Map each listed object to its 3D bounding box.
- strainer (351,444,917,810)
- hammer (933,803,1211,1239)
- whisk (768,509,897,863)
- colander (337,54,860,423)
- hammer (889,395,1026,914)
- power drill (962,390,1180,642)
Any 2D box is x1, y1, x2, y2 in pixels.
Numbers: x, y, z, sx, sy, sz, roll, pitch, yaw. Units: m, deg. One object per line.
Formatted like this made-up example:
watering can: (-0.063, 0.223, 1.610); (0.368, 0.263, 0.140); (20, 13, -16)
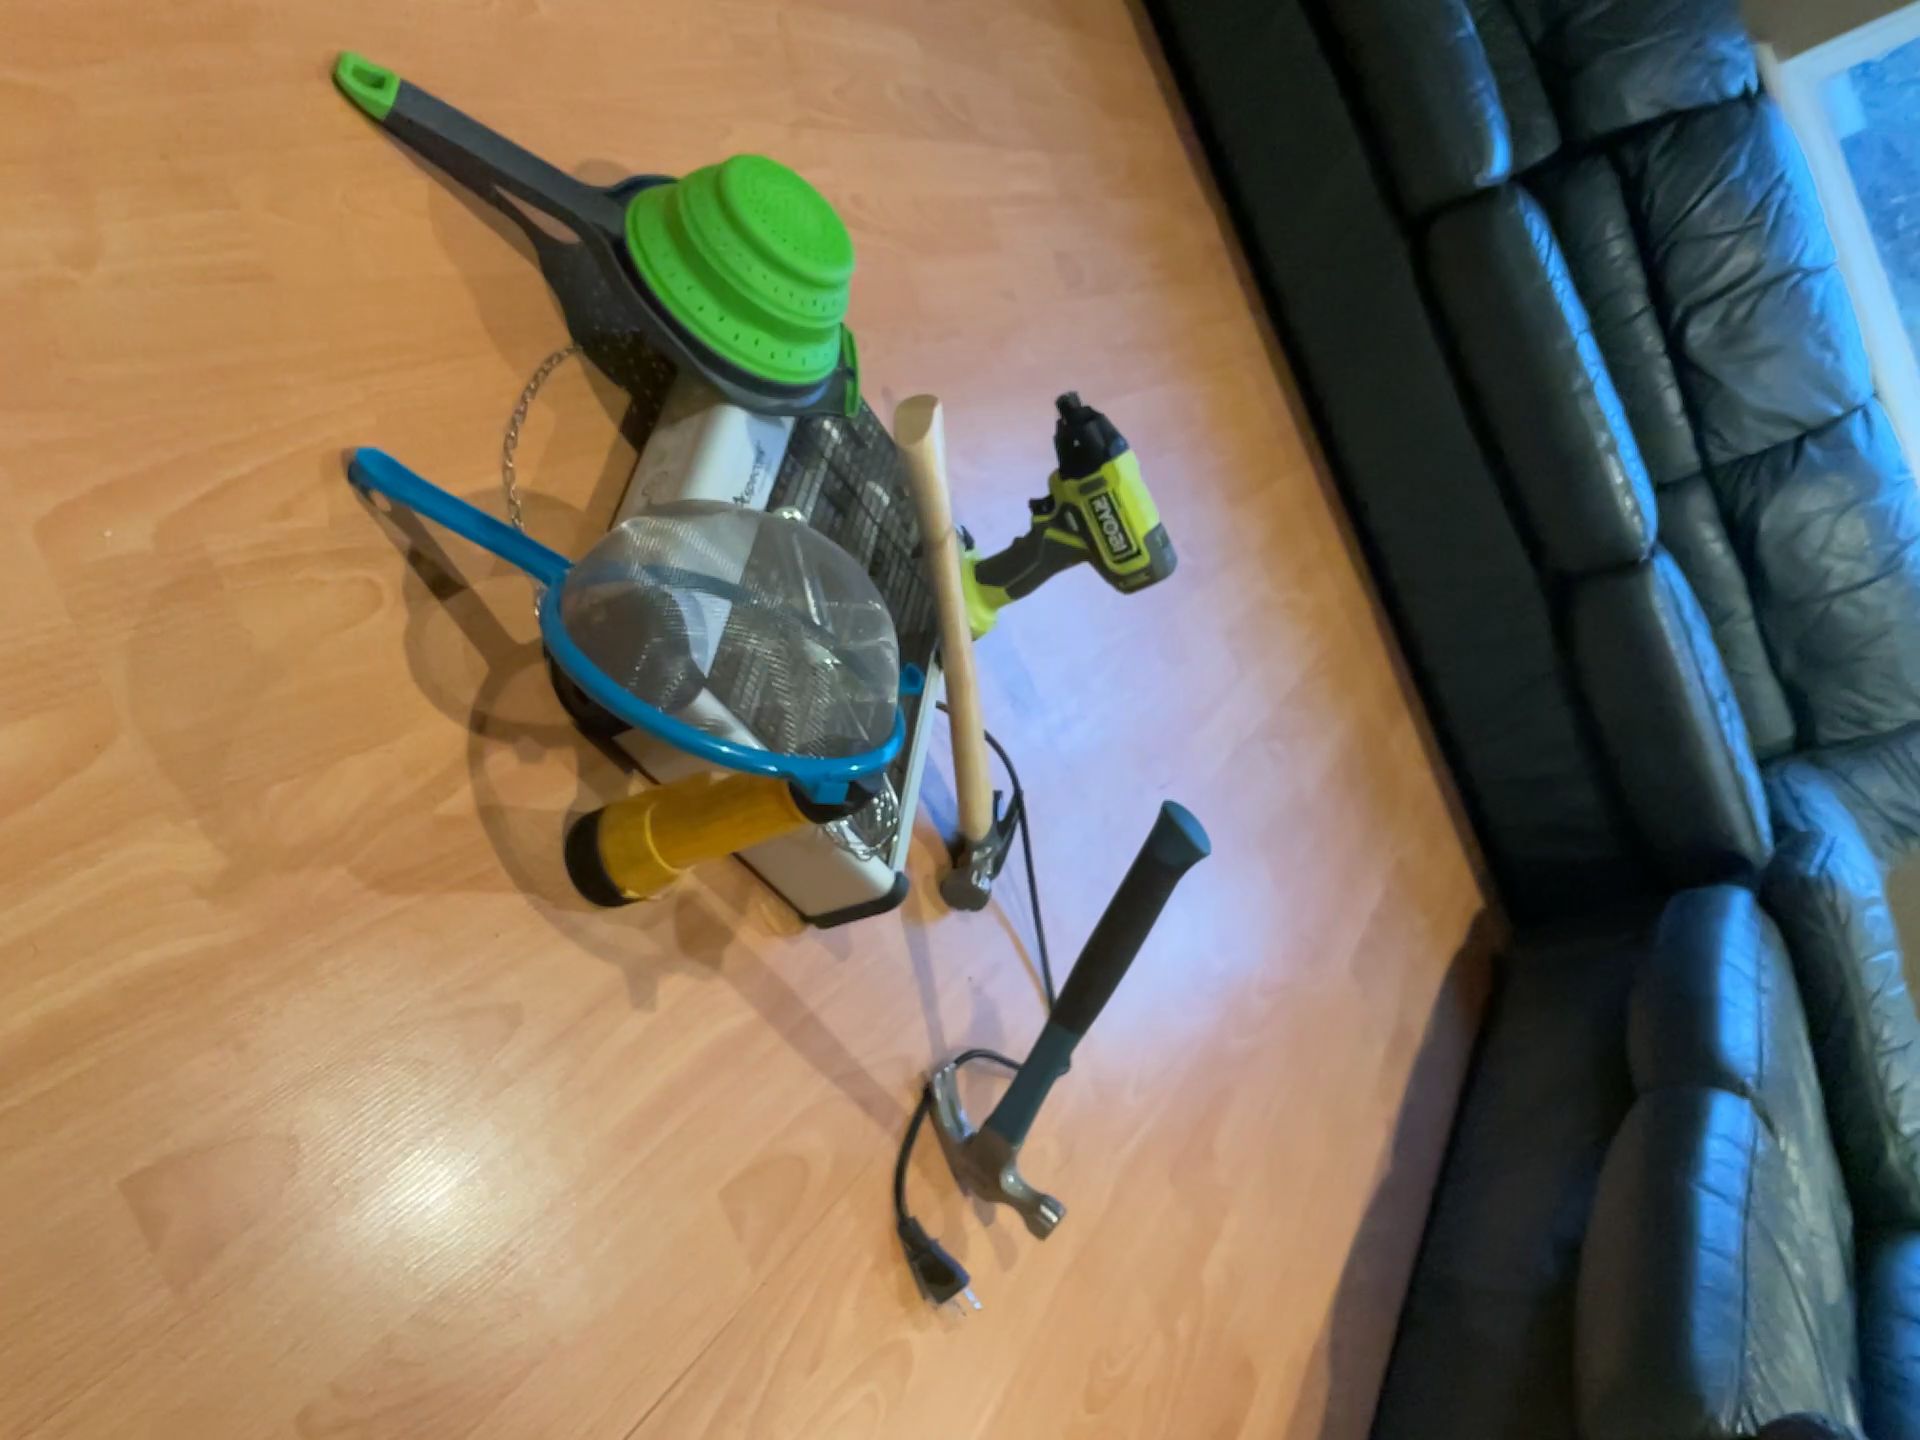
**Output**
strainer: (-0.169, -0.092, 0.875); (0.340, 0.095, 0.211); (29, 23, 1)
hammer: (0.083, 0.203, 1.116); (0.128, 0.330, 0.033); (34, 23, 18)
whisk: (-0.088, -0.026, 1.042); (0.058, 0.059, 0.246); (-6, 72, -31)
colander: (-0.204, -0.344, 1.064); (0.397, 0.094, 0.205); (25, 42, -31)
hammer: (-0.002, -0.053, 1.224); (0.146, 0.038, 0.410); (-64, 151, -52)
power drill: (0.054, -0.163, 1.353); (0.171, 0.223, 0.080); (64, 29, -10)
